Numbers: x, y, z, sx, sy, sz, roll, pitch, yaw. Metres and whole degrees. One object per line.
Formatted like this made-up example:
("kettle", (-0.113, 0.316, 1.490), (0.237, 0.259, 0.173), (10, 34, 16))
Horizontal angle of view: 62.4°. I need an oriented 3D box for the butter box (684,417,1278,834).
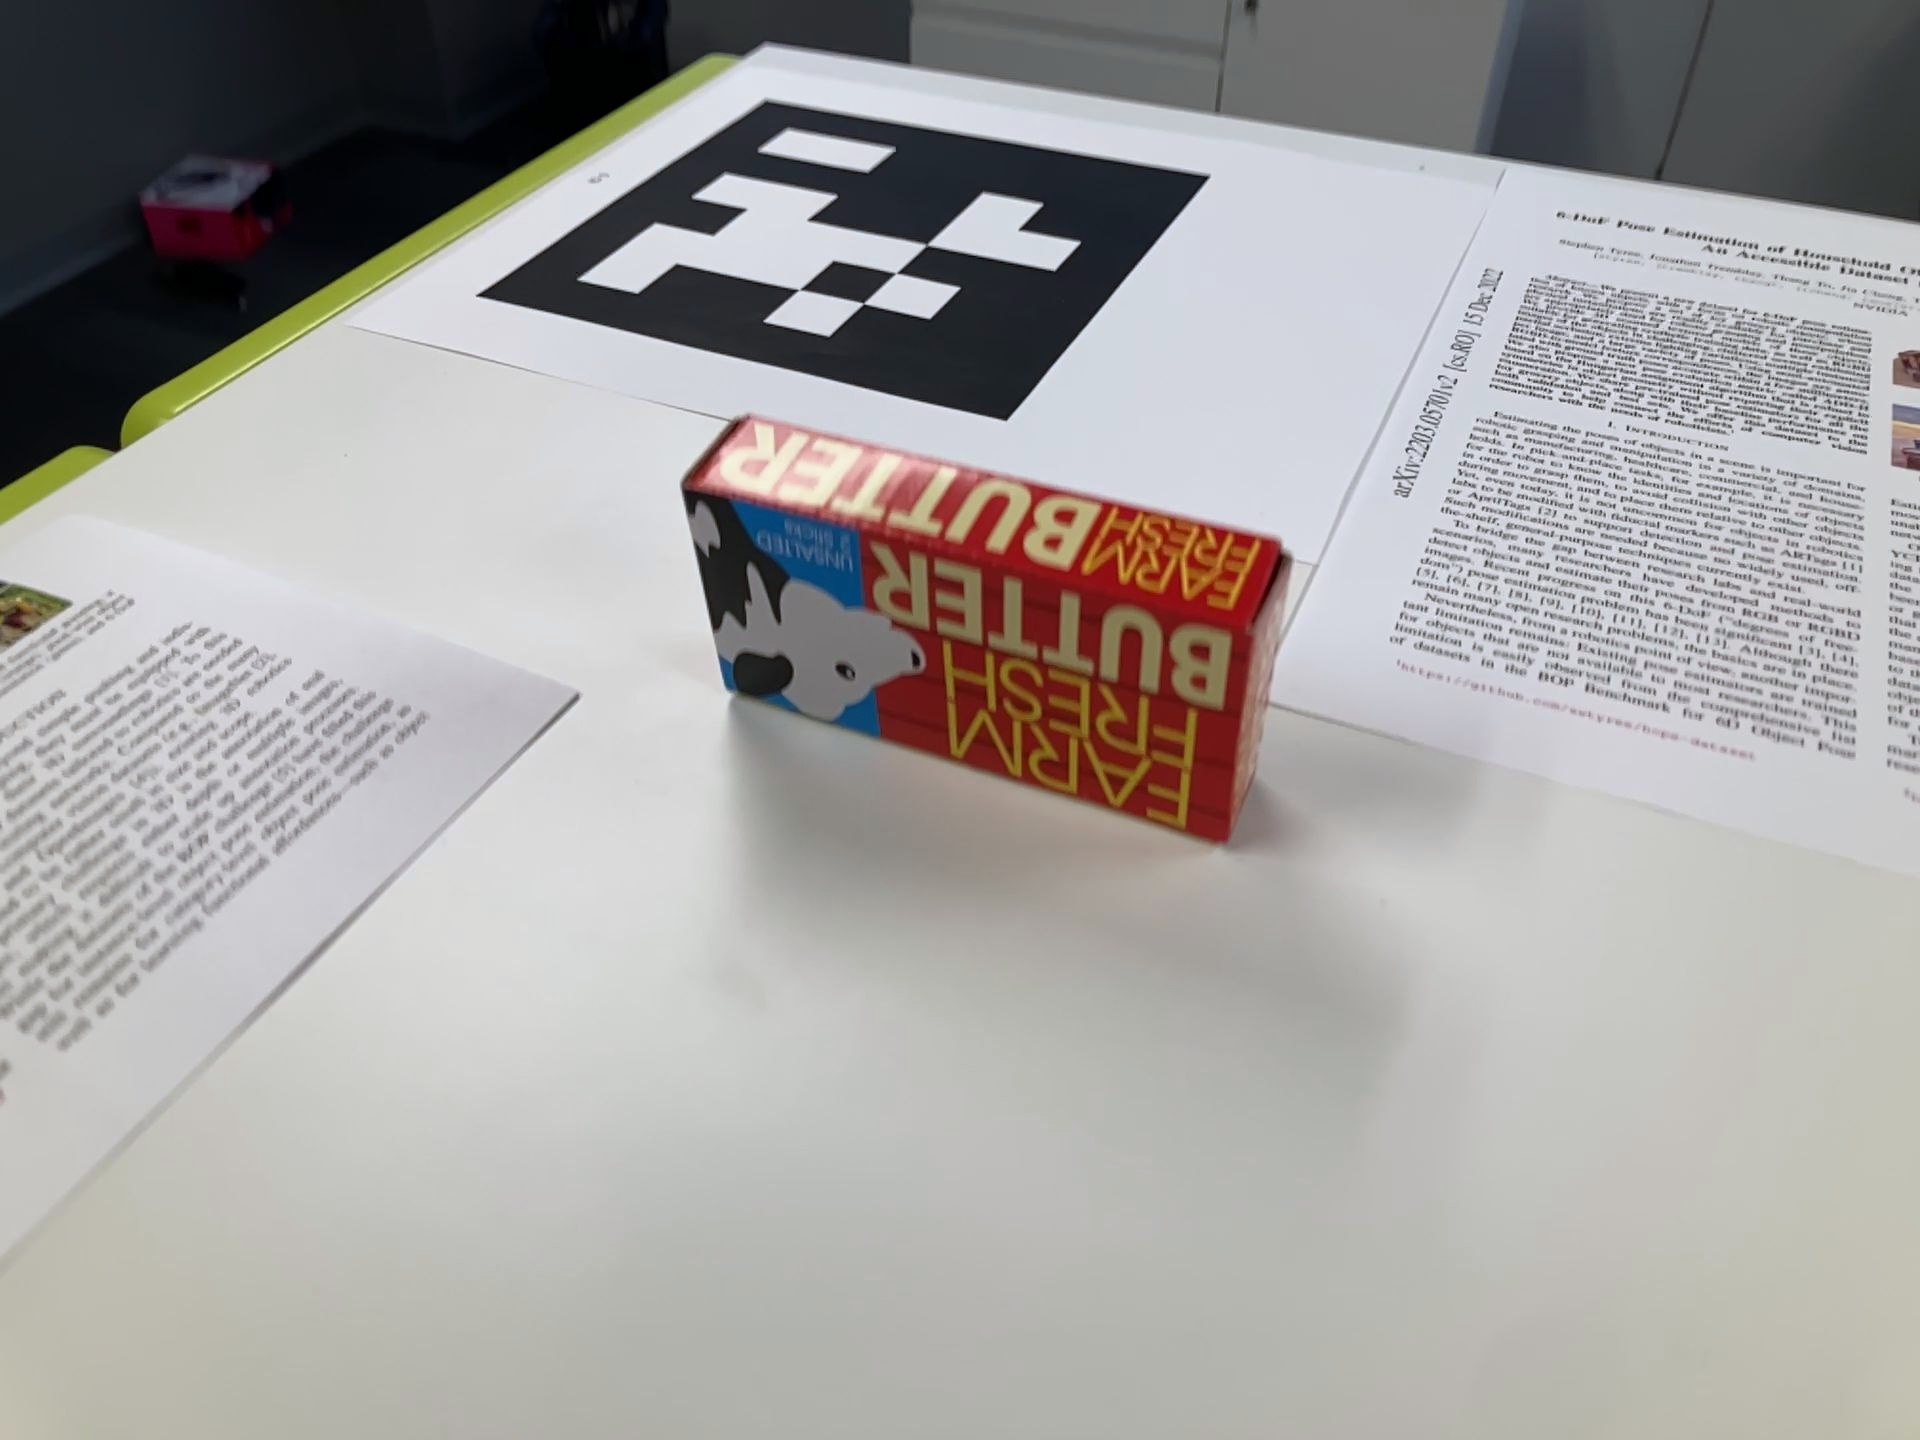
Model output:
("butter box", (0.003, -0.018, 0.288), (0.103, 0.053, 0.024), (16, 49, 19))
